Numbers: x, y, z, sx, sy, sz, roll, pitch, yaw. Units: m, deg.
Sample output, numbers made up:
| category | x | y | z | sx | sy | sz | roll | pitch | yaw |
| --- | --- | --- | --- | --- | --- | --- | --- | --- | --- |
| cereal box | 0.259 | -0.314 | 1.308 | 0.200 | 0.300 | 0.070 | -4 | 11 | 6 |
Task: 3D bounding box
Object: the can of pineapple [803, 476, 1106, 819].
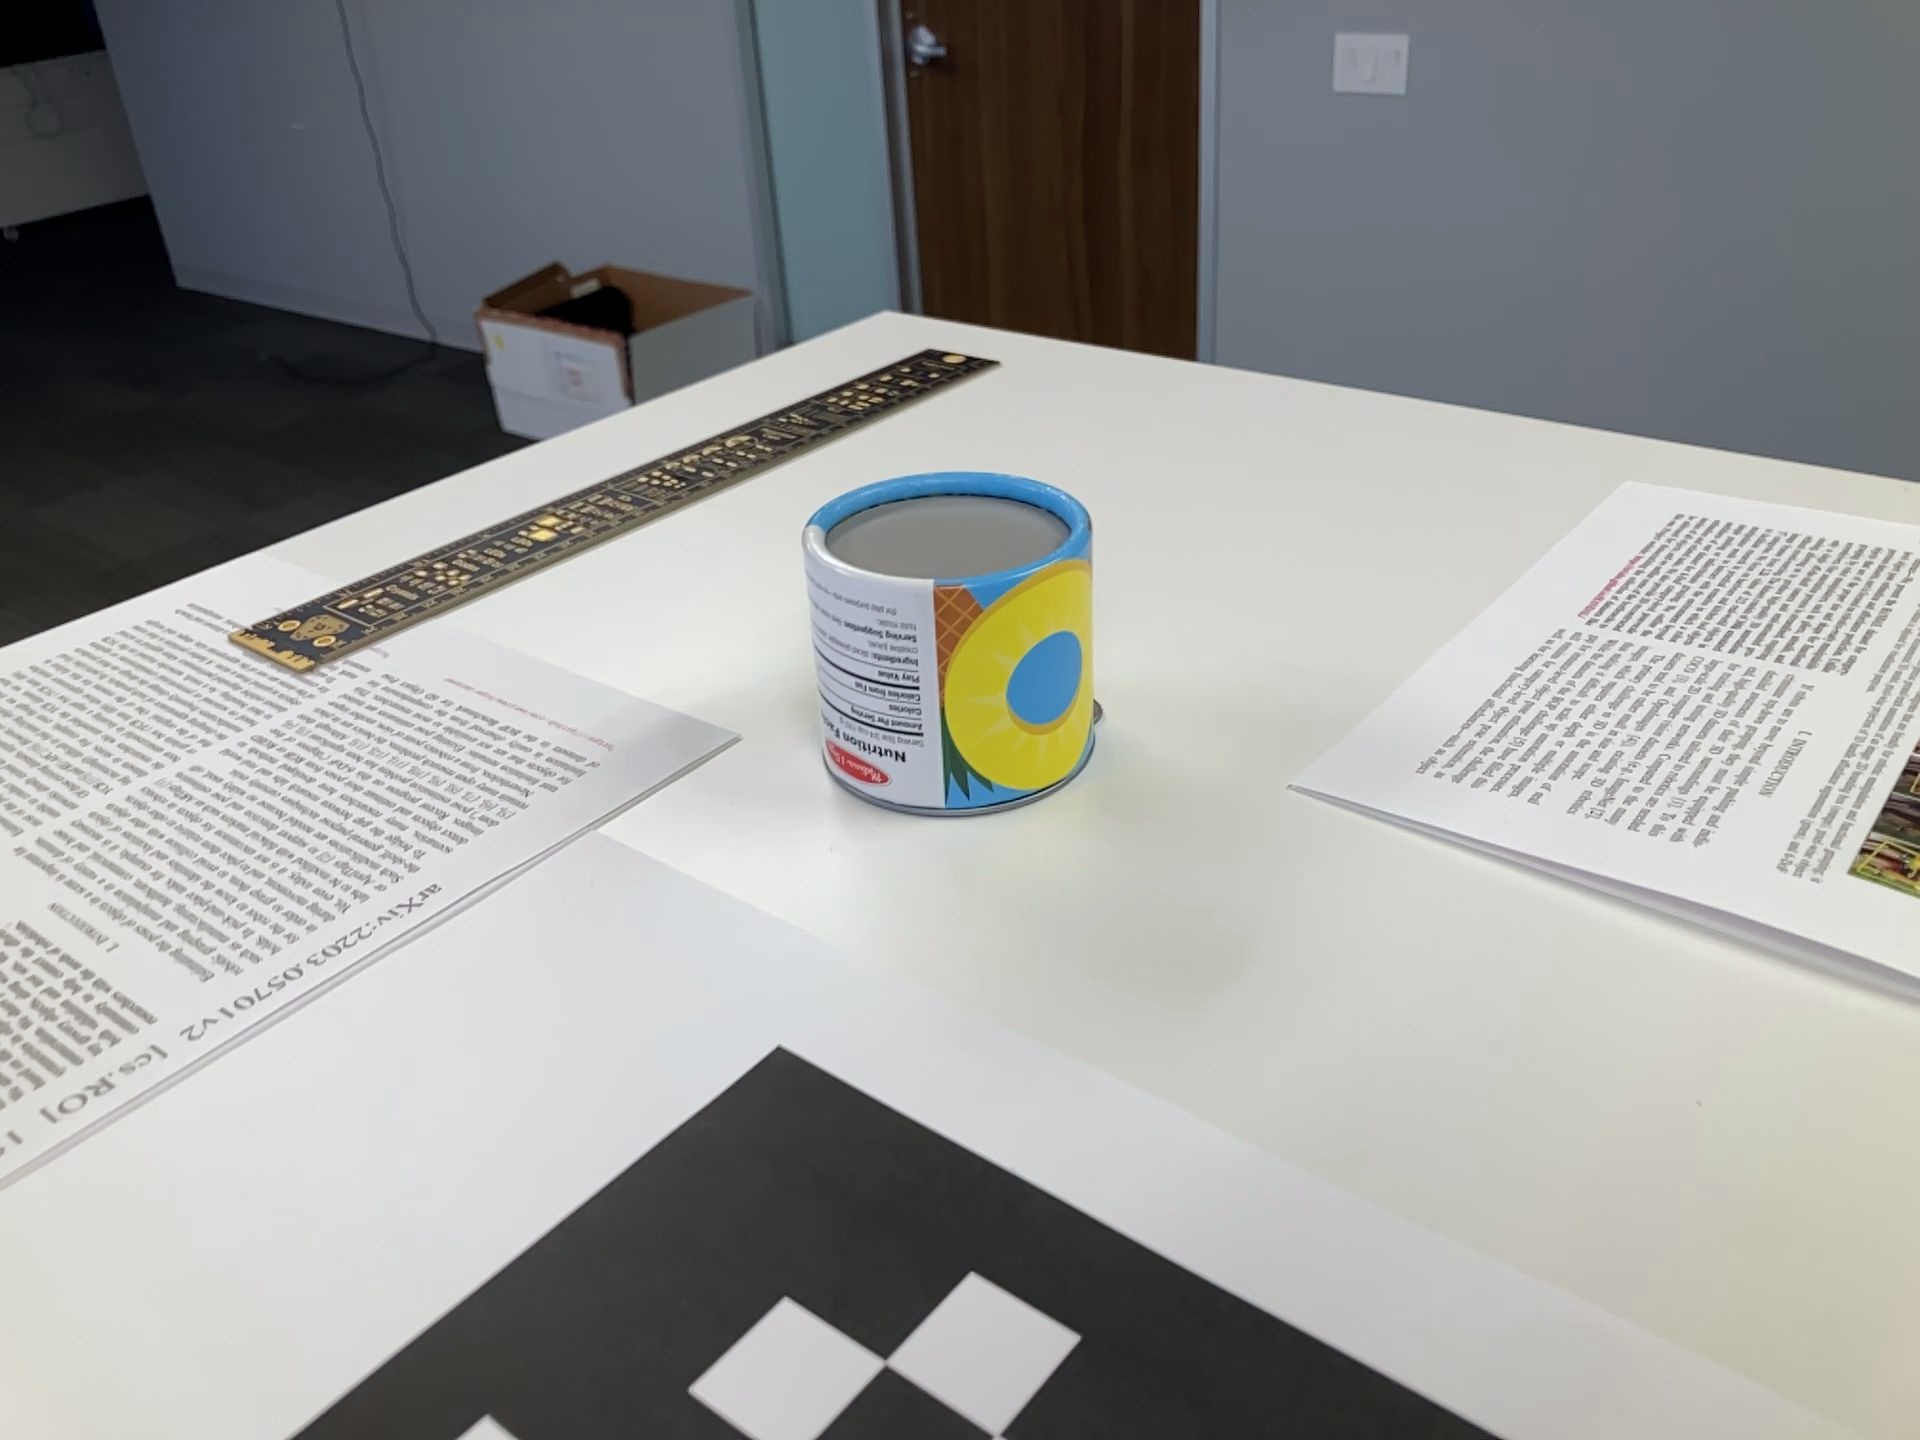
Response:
| category | x | y | z | sx | sy | sz | roll | pitch | yaw |
| --- | --- | --- | --- | --- | --- | --- | --- | --- | --- |
| can of pineapple | 0.000 | -0.019 | 0.371 | 0.071 | 0.058 | 0.071 | -2 | 30 | 1 |
